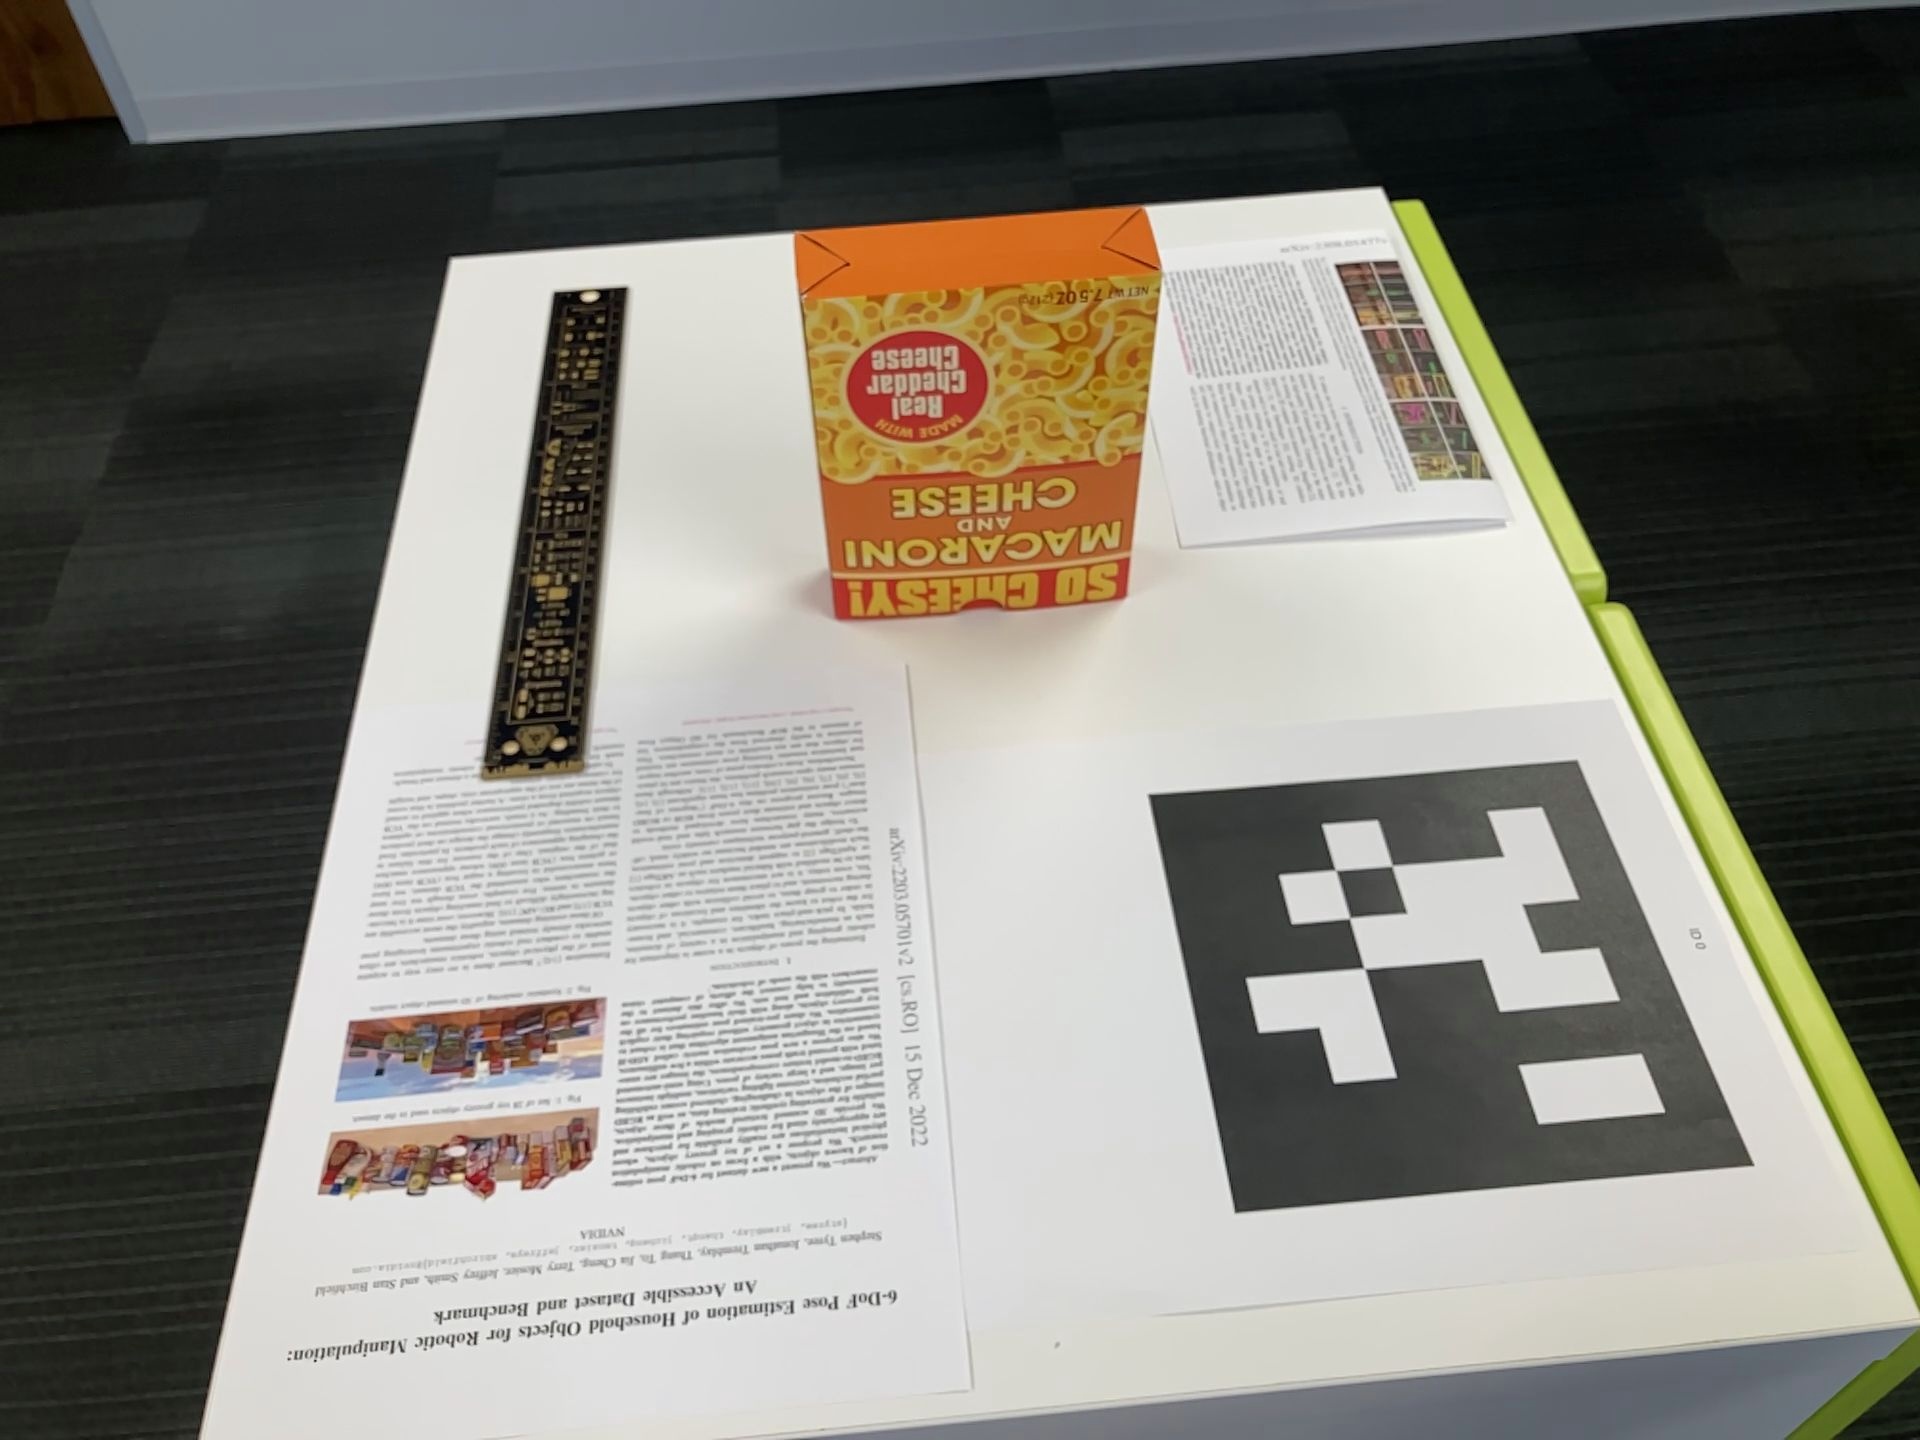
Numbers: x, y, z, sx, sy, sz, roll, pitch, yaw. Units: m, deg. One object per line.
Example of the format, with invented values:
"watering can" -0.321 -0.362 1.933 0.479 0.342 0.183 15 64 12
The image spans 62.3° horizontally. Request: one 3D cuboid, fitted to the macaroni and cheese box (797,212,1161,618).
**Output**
"macaroni and cheese box" 0.005 -0.109 0.608 0.124 0.166 0.040 -4 52 -3
